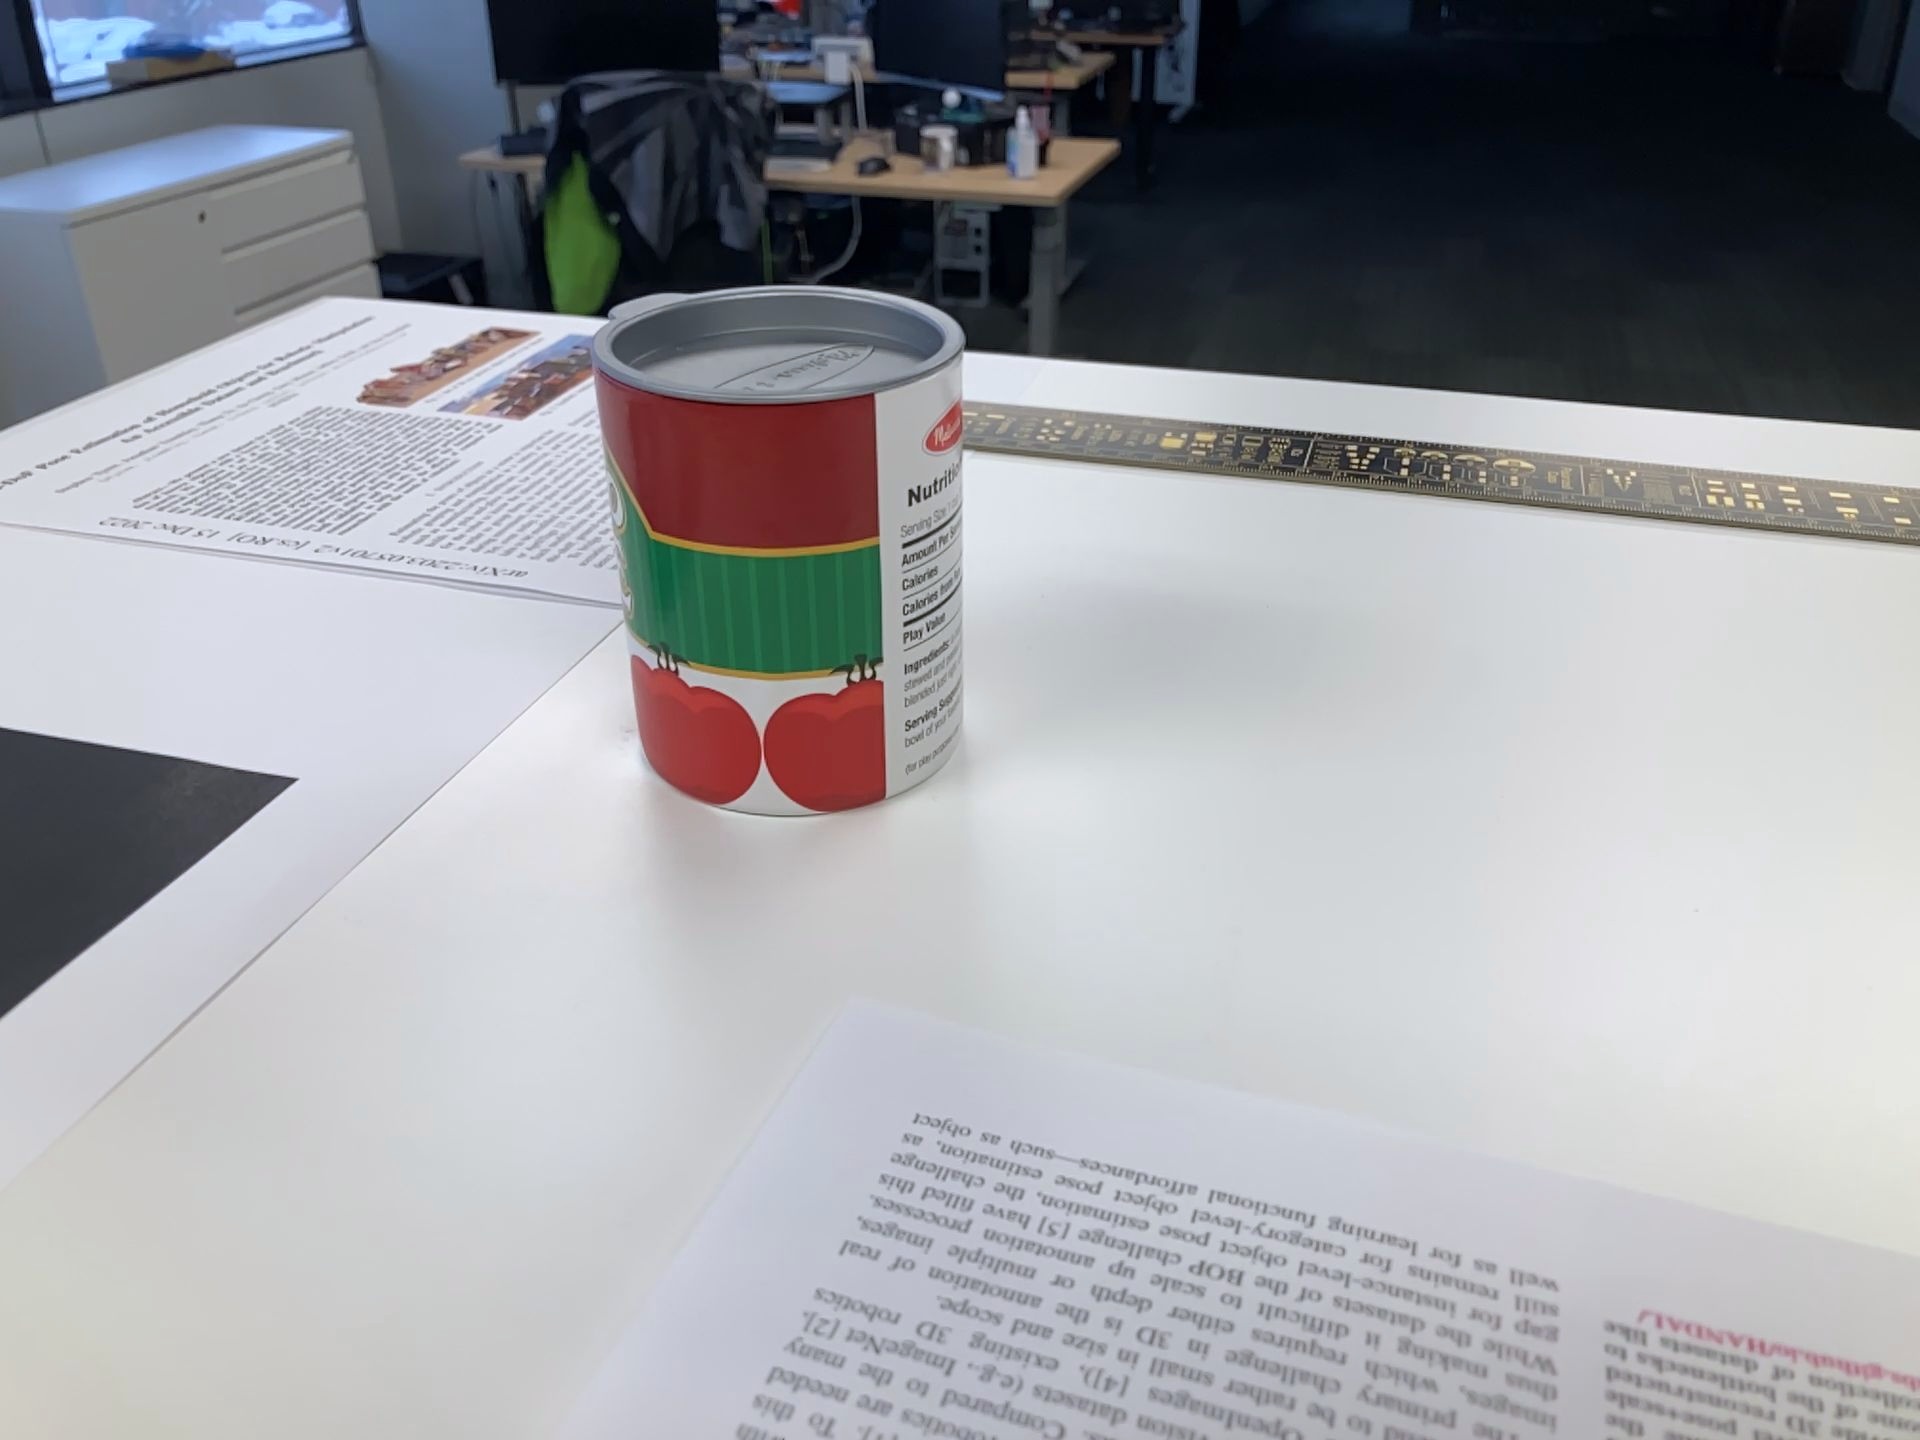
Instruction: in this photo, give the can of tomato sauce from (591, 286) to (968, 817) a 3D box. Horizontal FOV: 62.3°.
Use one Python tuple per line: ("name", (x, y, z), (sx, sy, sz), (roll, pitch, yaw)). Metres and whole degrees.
("can of tomato sauce", (-0.034, -0.034, 0.302), (0.071, 0.083, 0.071), (0, 29, 0))
